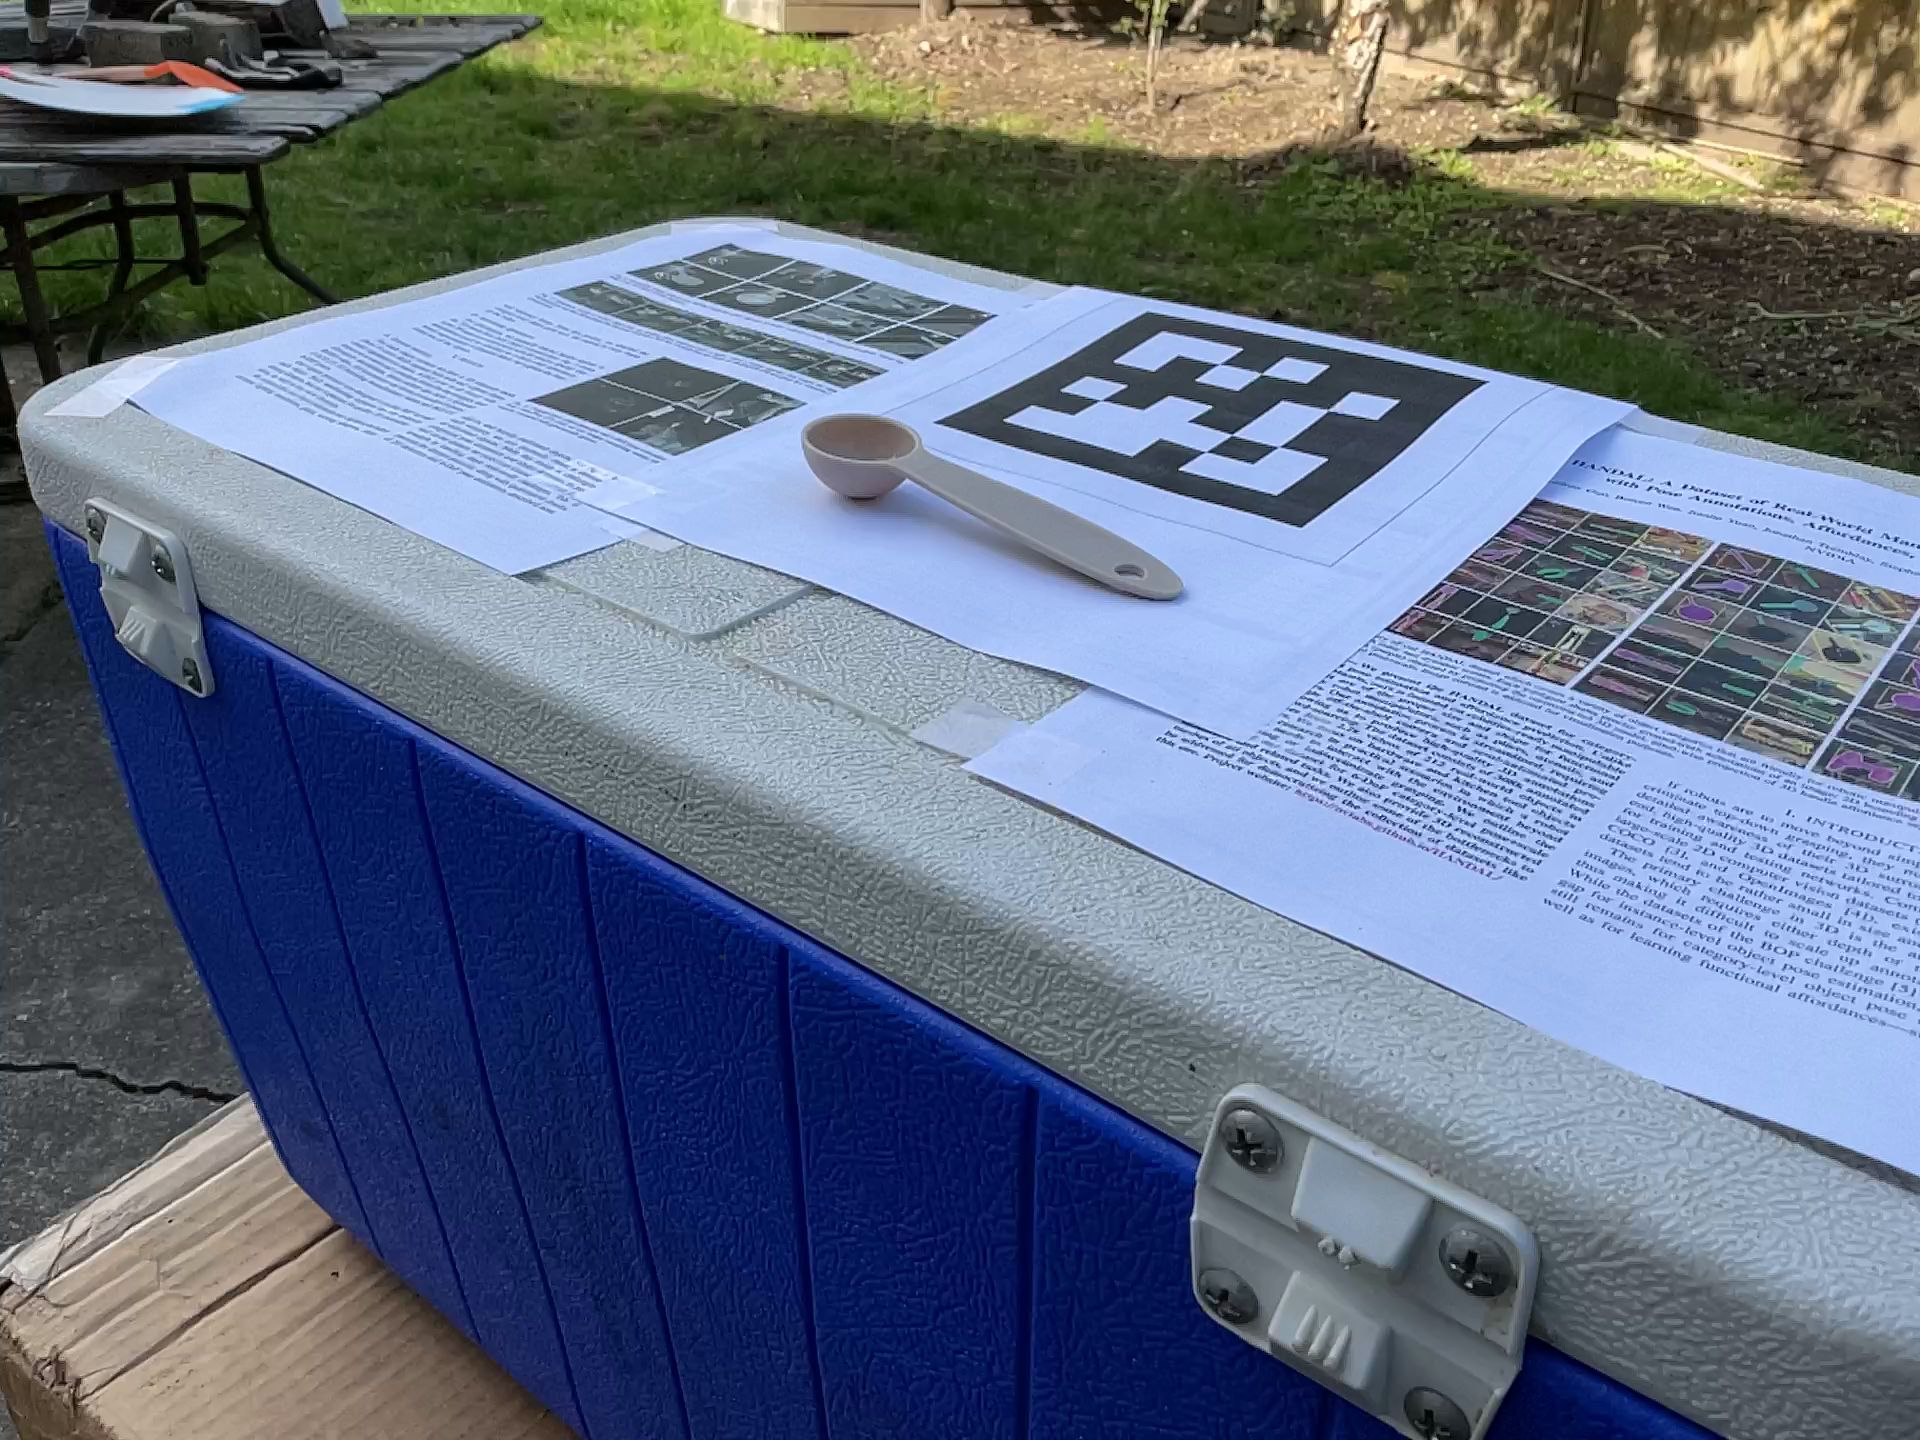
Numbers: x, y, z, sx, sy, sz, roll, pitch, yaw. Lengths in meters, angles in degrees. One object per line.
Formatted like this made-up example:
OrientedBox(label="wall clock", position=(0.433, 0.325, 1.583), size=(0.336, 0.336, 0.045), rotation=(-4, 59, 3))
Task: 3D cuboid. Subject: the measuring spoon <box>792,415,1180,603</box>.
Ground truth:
OrientedBox(label="measuring spoon", position=(0.004, -0.052, 0.428), size=(0.124, 0.018, 0.034), rotation=(29, 39, 28))
